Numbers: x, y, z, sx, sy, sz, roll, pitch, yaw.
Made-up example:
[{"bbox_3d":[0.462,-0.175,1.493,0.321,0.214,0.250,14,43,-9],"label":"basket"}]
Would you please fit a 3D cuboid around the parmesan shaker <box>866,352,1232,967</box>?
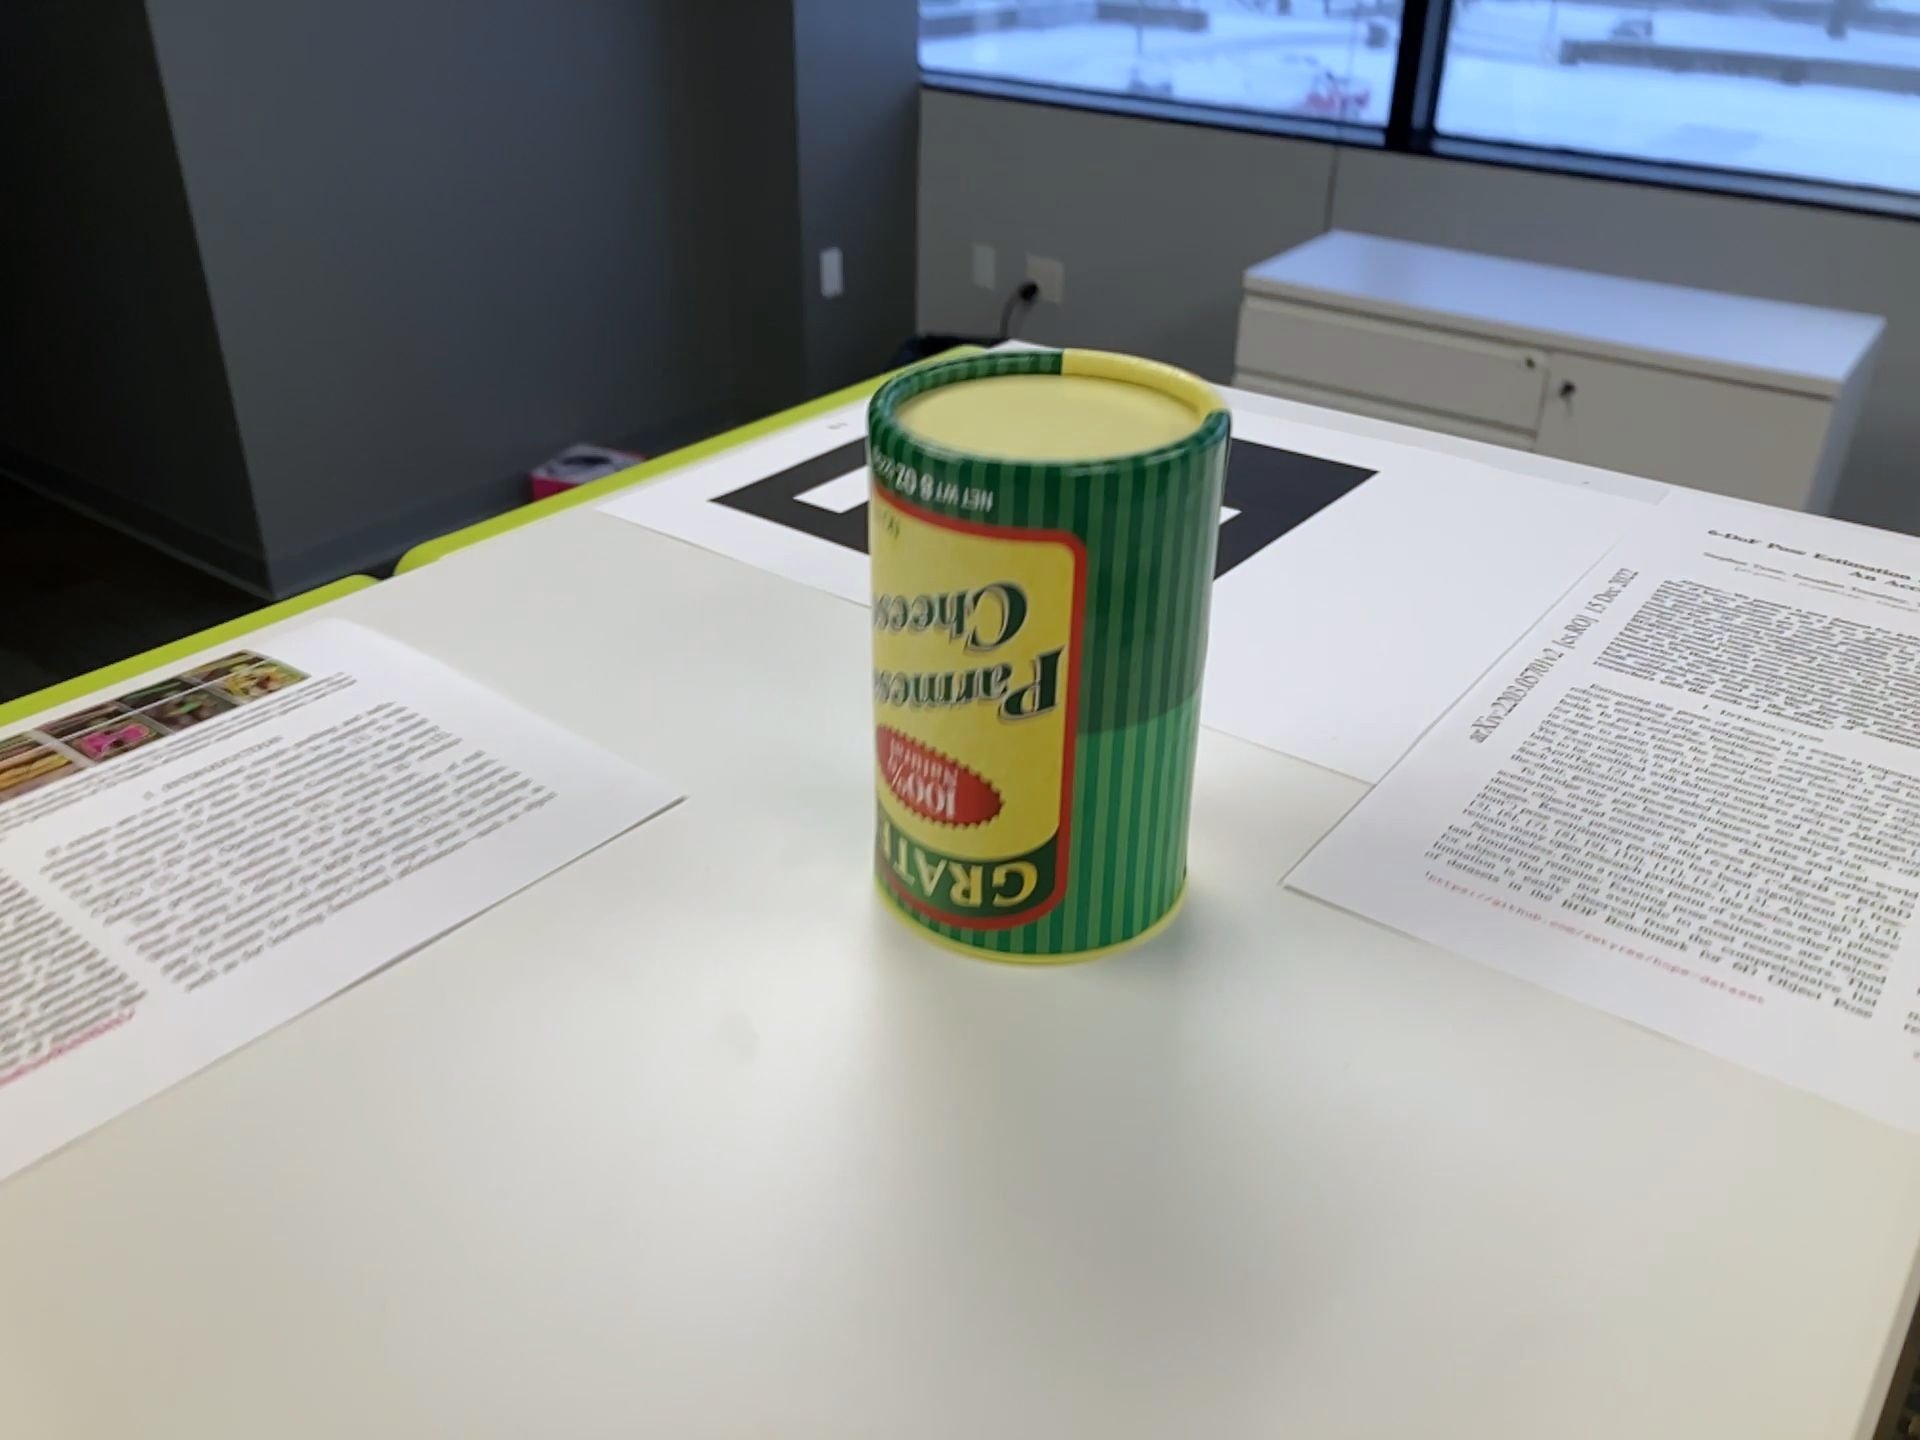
[{"bbox_3d":[0.013,-0.014,0.312,0.071,0.103,0.071,0,29,0],"label":"parmesan shaker"}]
